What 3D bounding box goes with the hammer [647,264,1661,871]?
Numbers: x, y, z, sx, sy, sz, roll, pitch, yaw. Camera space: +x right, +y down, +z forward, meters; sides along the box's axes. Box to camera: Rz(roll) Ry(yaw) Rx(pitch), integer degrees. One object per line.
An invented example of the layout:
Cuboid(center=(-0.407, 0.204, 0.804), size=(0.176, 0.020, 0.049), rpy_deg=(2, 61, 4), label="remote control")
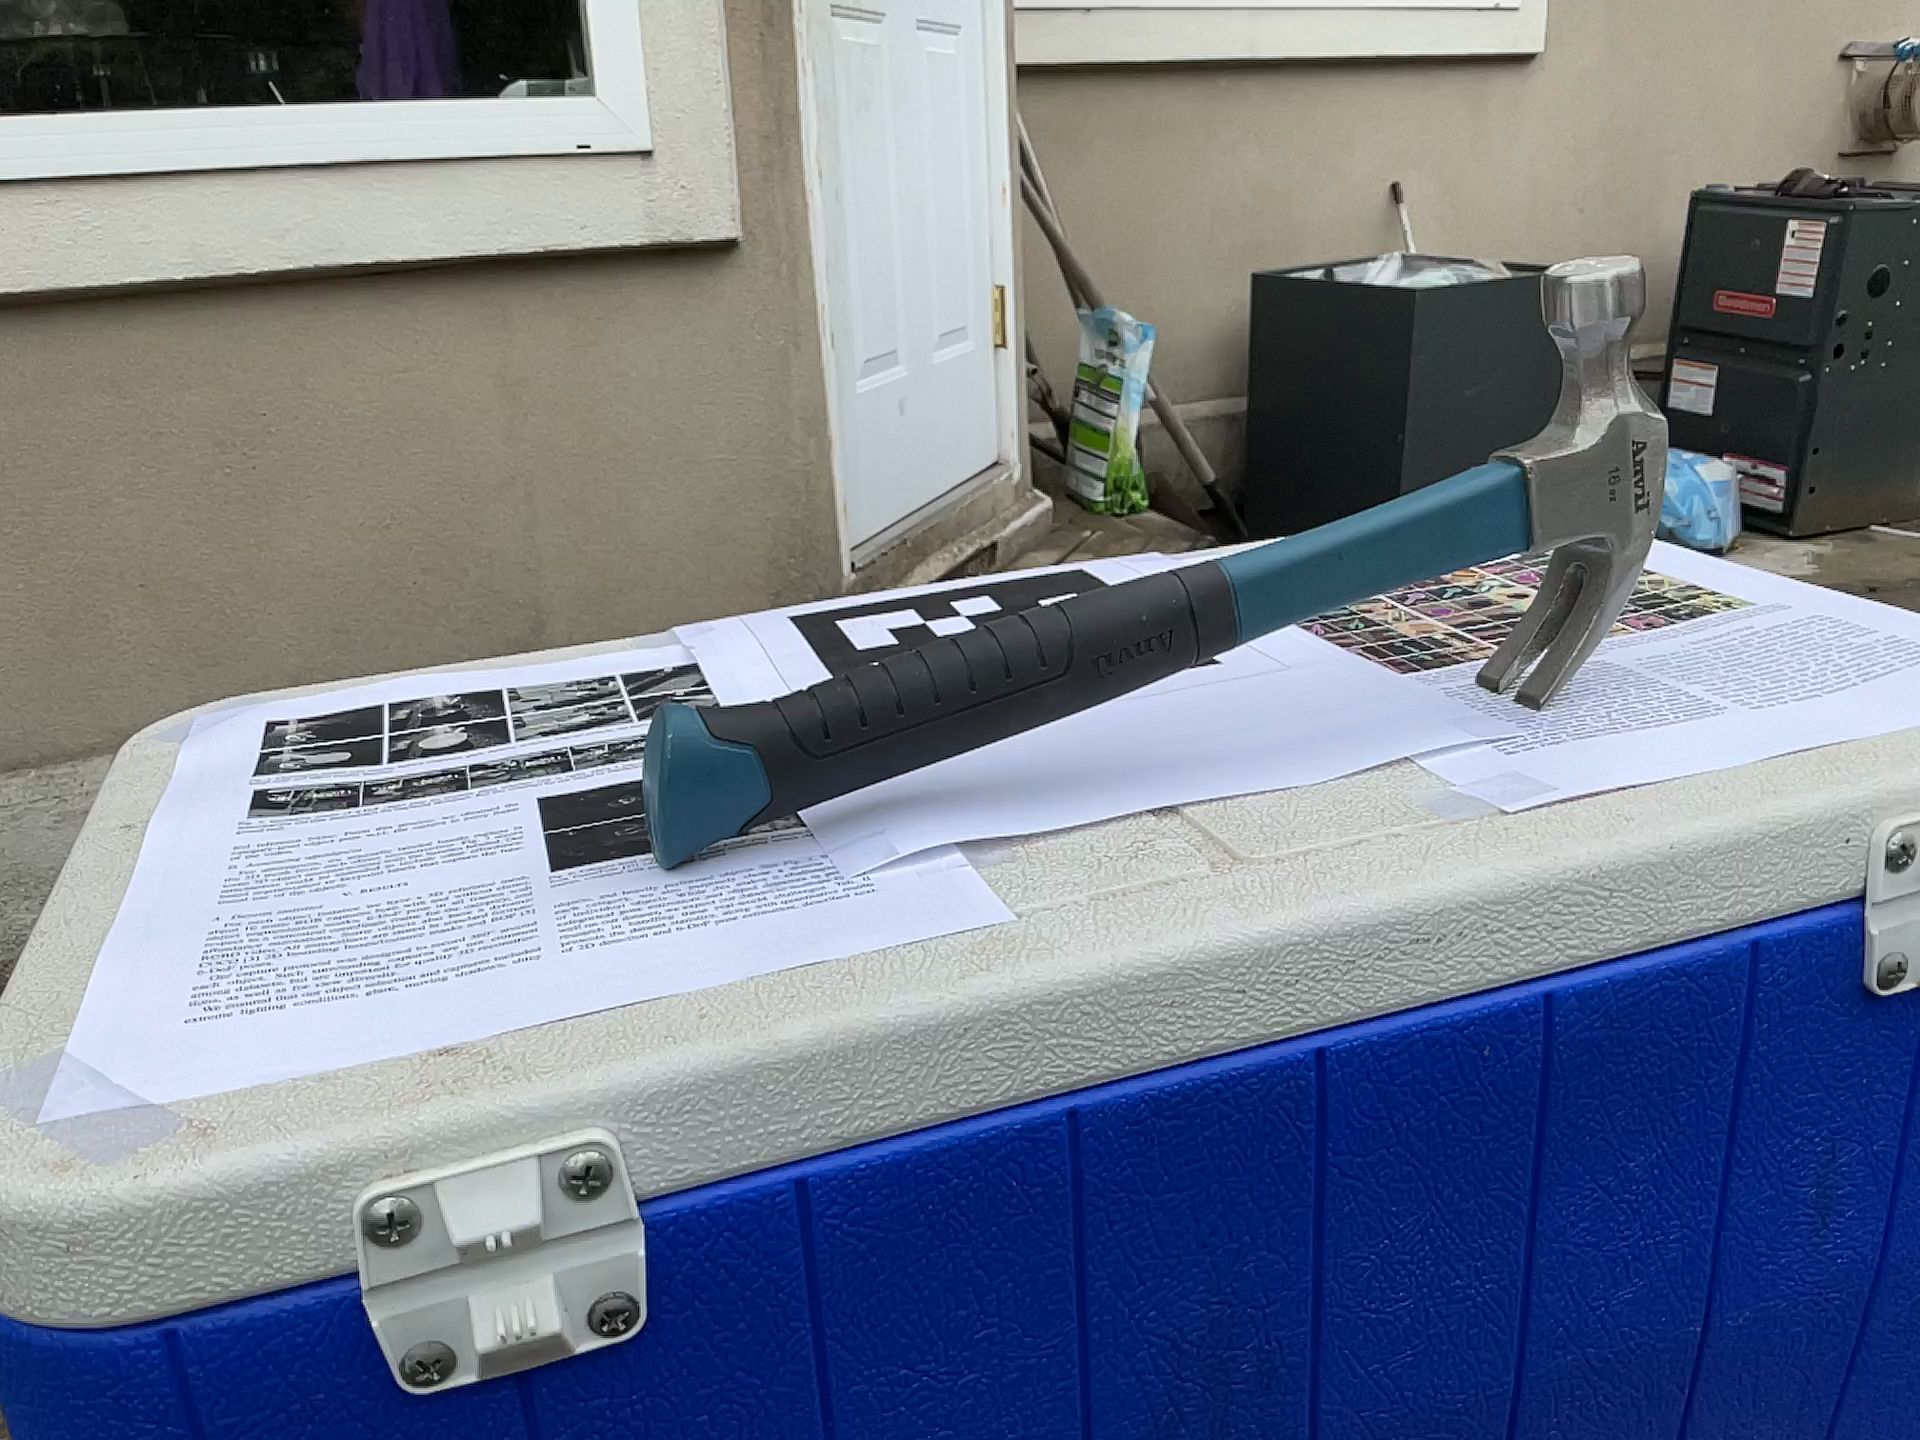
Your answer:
Cuboid(center=(0.065, -0.031, 0.472), size=(0.331, 0.128, 0.033), rpy_deg=(-19, 22, -14), label="hammer")
